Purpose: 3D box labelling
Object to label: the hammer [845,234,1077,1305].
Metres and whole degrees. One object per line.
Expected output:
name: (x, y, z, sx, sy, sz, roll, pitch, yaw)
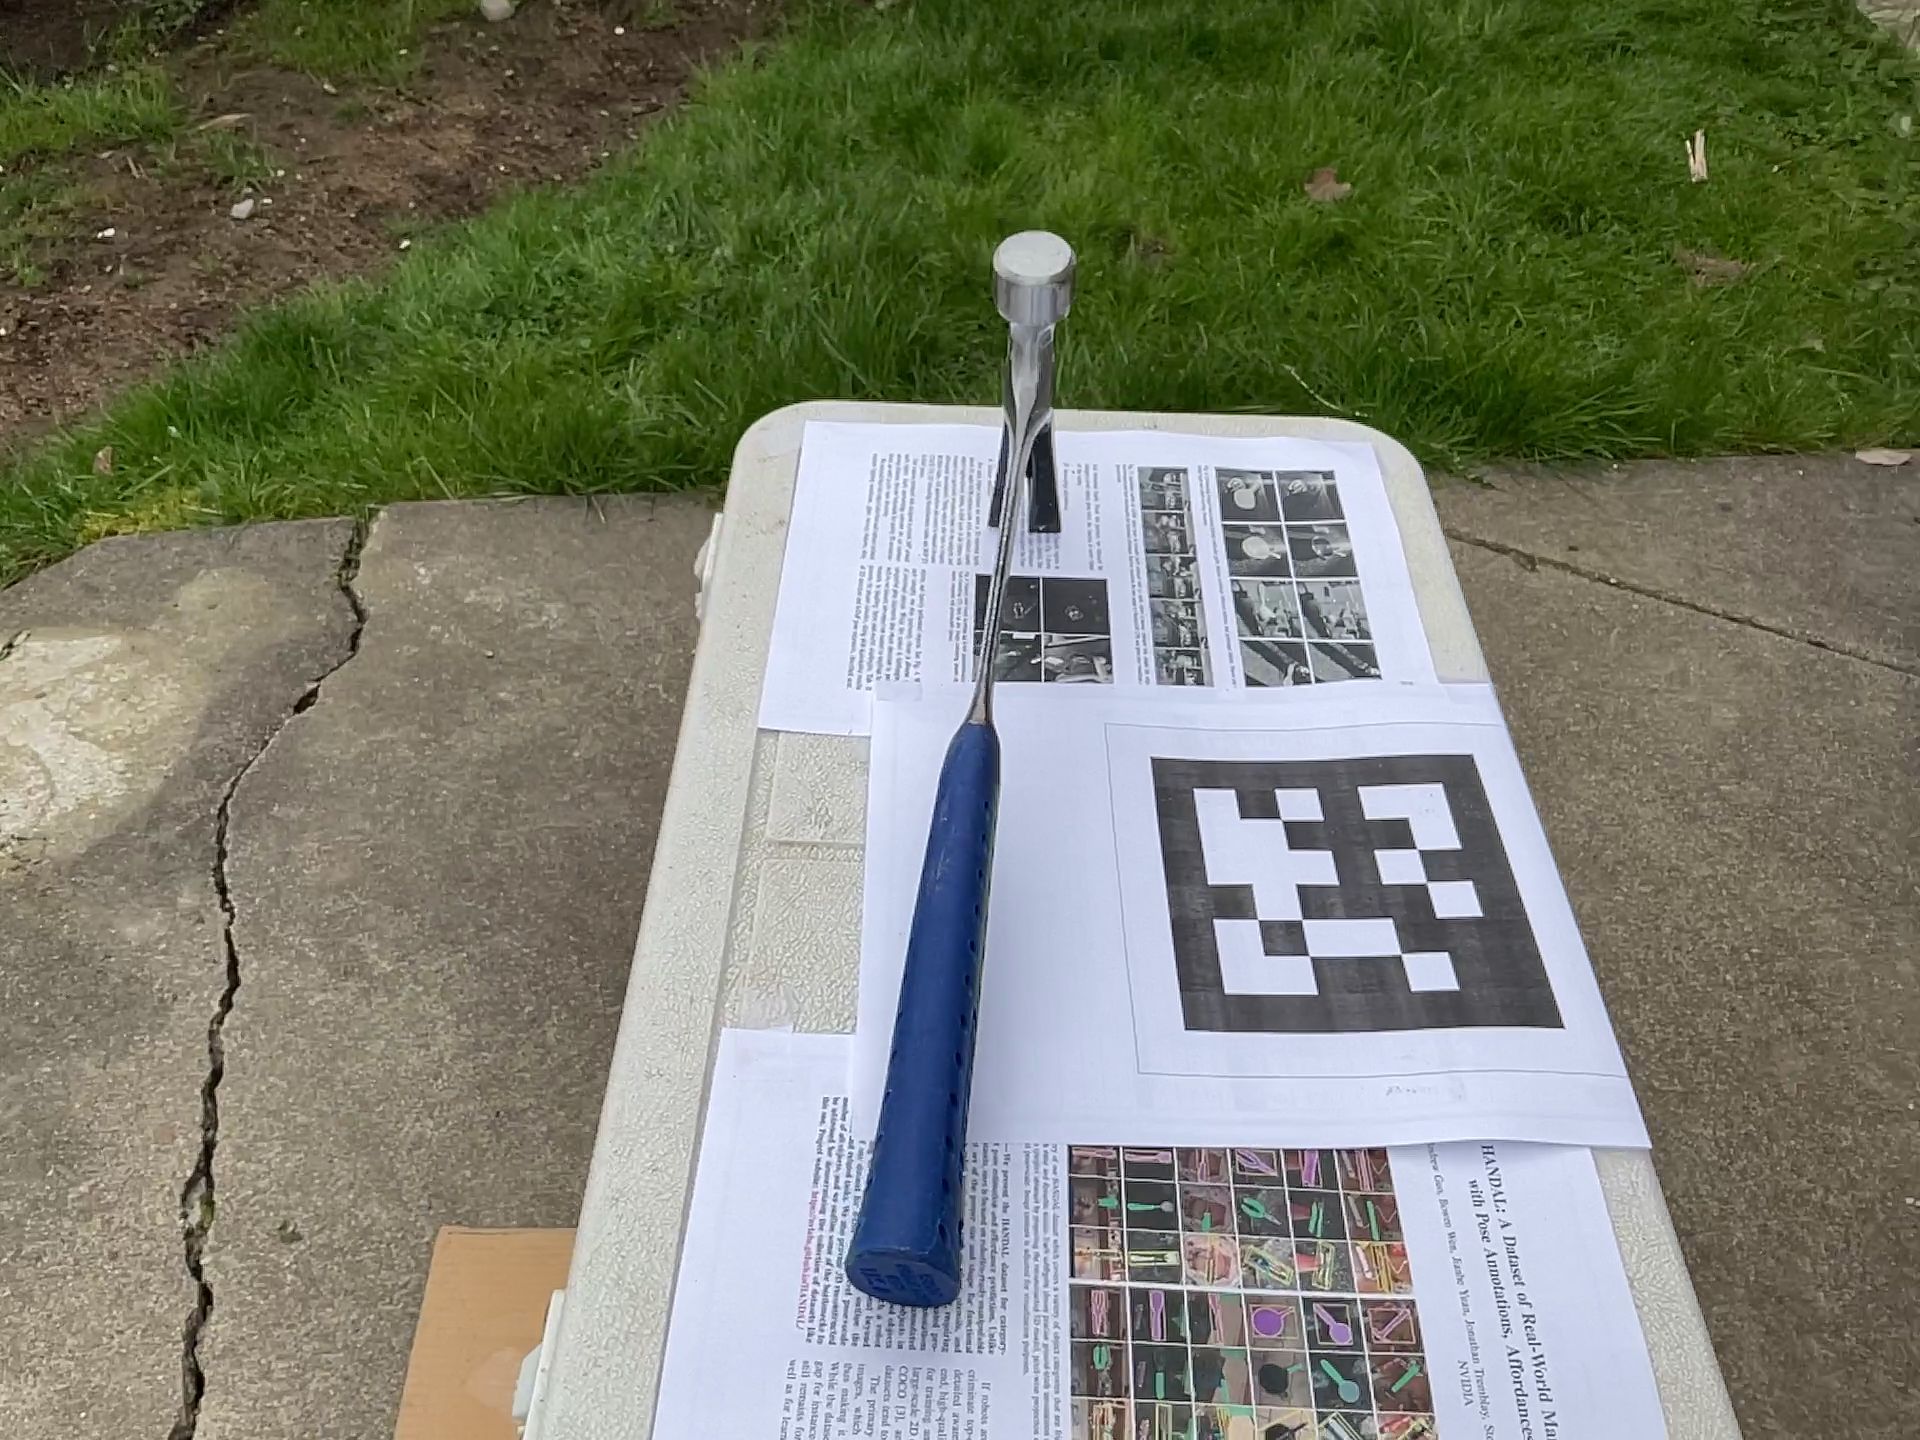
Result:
hammer: (0.008, 0.004, 0.583, 0.035, 0.144, 0.406, 5, 53, 5)
